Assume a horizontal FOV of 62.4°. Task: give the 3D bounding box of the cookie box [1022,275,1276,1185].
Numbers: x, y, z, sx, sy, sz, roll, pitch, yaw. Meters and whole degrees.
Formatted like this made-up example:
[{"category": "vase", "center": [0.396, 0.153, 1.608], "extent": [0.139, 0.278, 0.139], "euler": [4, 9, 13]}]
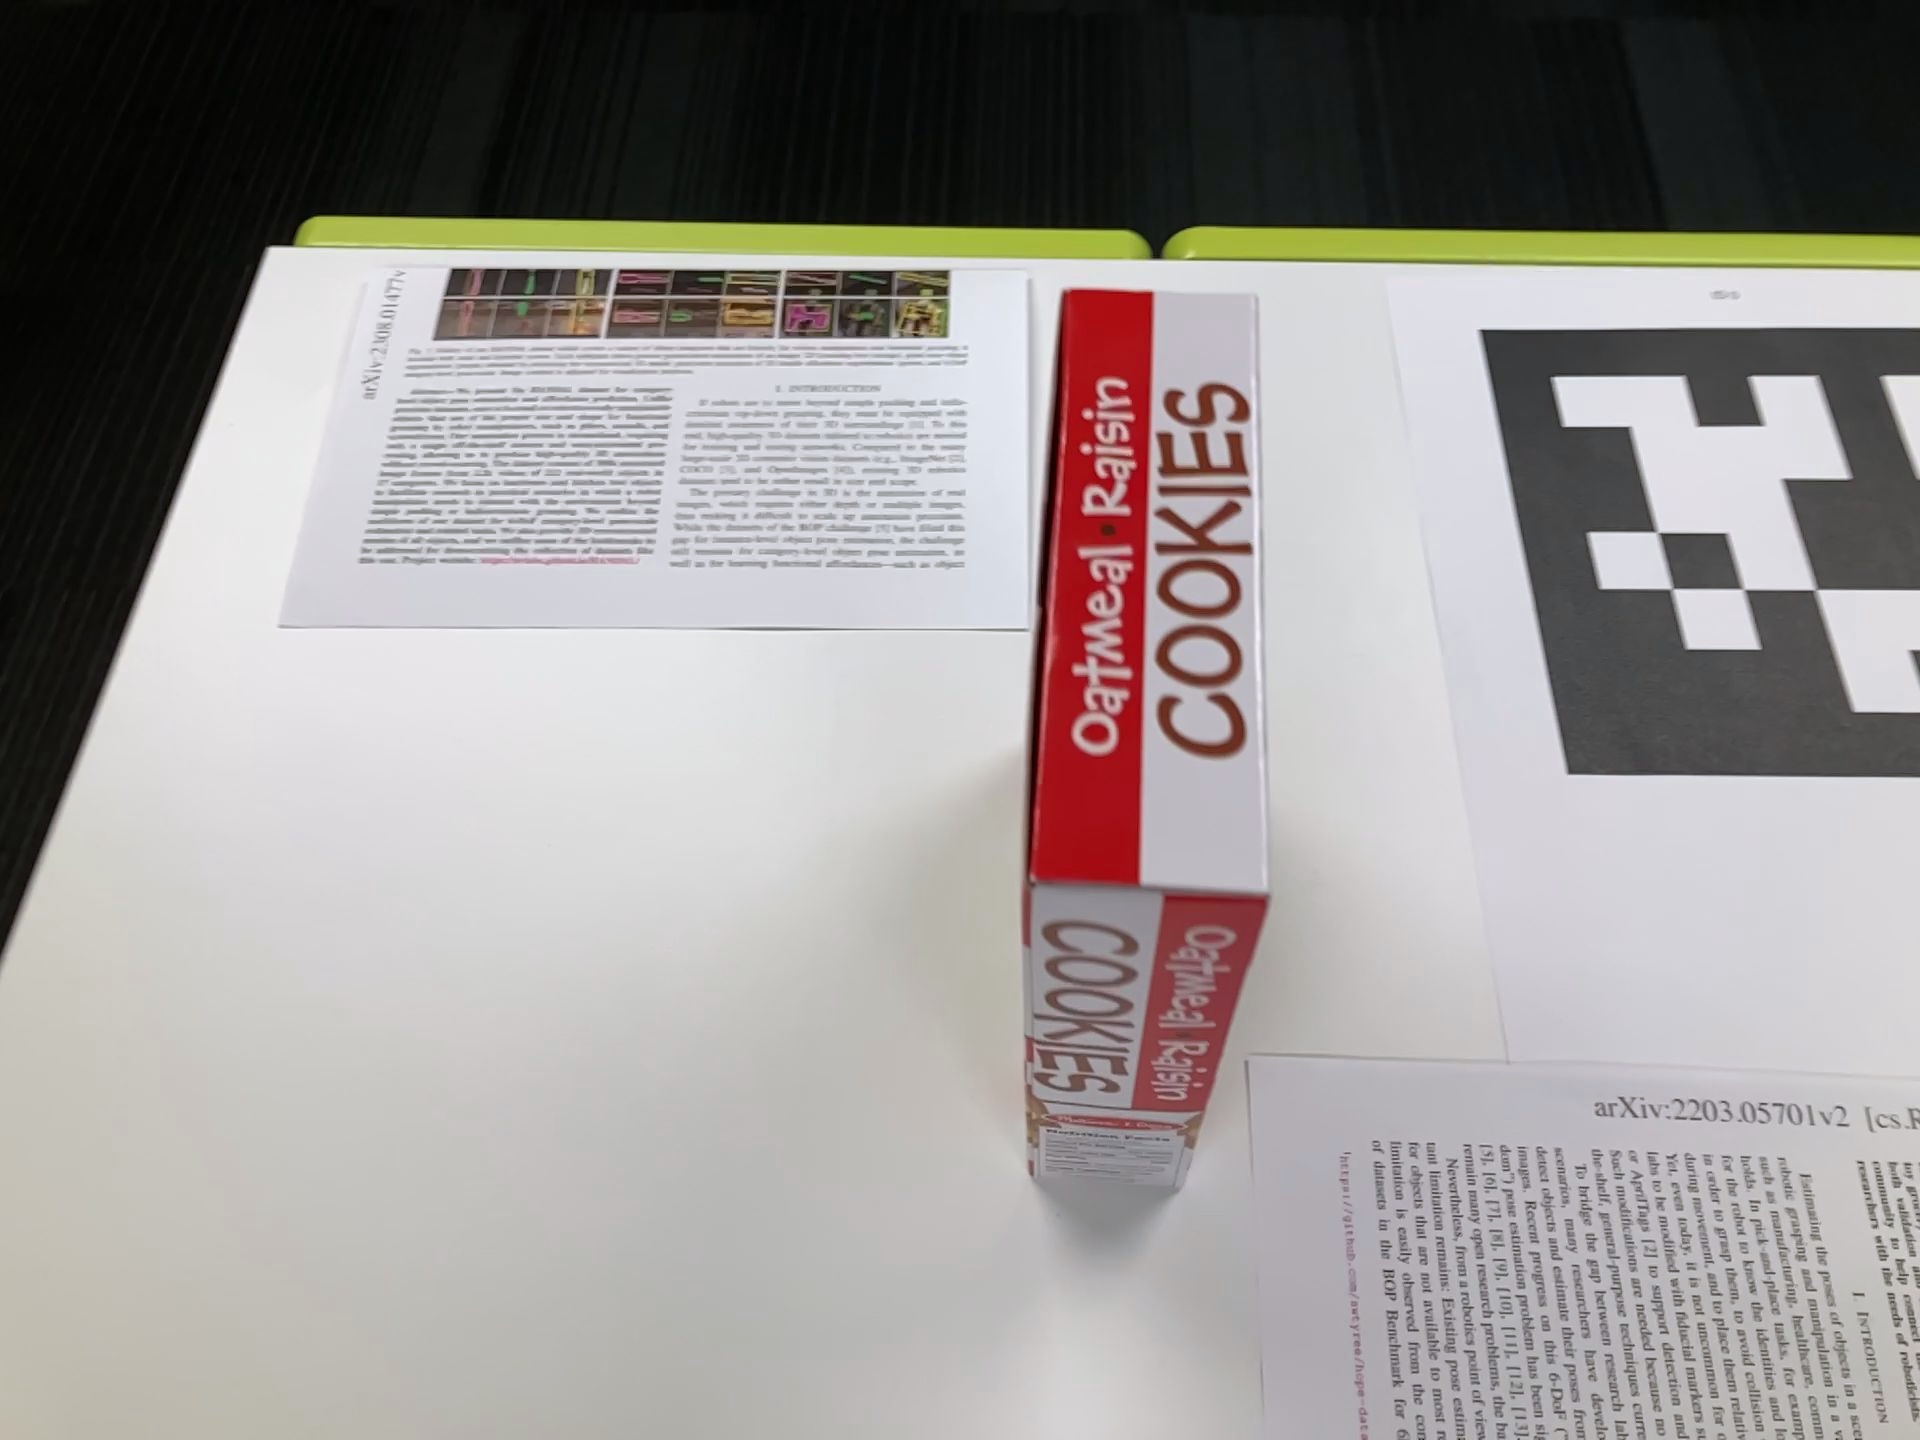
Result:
[{"category": "cookie box", "center": [0.034, 0.014, 0.331], "extent": [0.040, 0.167, 0.123], "euler": [2, 60, 3]}]
